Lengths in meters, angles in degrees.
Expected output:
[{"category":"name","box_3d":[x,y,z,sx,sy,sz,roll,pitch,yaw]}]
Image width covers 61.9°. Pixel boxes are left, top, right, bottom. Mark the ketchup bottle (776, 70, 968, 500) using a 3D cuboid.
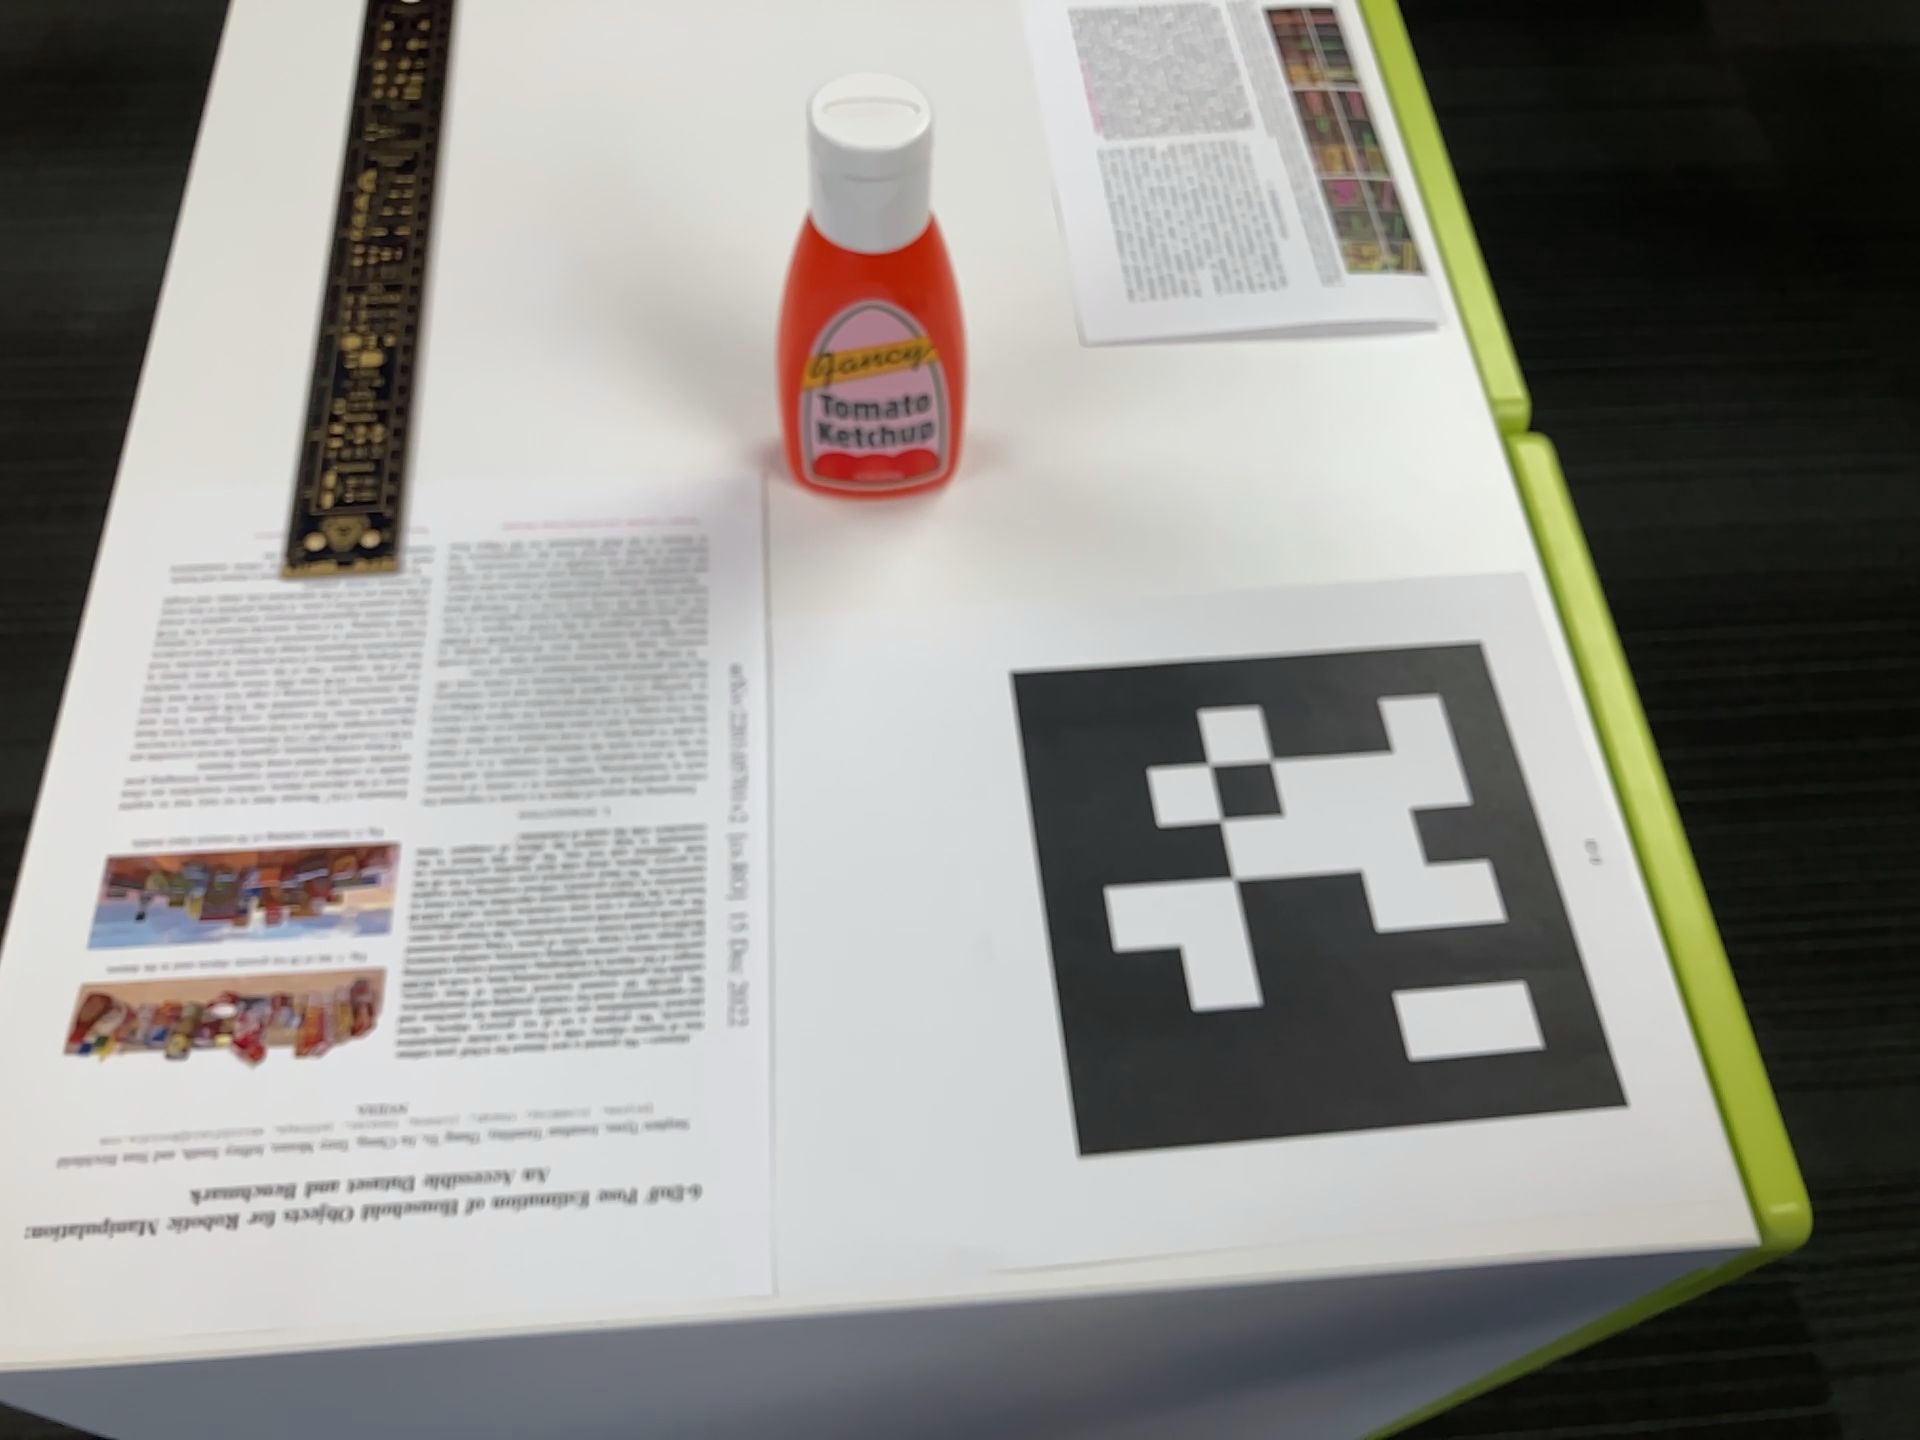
[{"category":"ketchup bottle","box_3d":[-0.029,-0.134,0.515,0.065,0.149,0.043,-2,58,-4]}]
